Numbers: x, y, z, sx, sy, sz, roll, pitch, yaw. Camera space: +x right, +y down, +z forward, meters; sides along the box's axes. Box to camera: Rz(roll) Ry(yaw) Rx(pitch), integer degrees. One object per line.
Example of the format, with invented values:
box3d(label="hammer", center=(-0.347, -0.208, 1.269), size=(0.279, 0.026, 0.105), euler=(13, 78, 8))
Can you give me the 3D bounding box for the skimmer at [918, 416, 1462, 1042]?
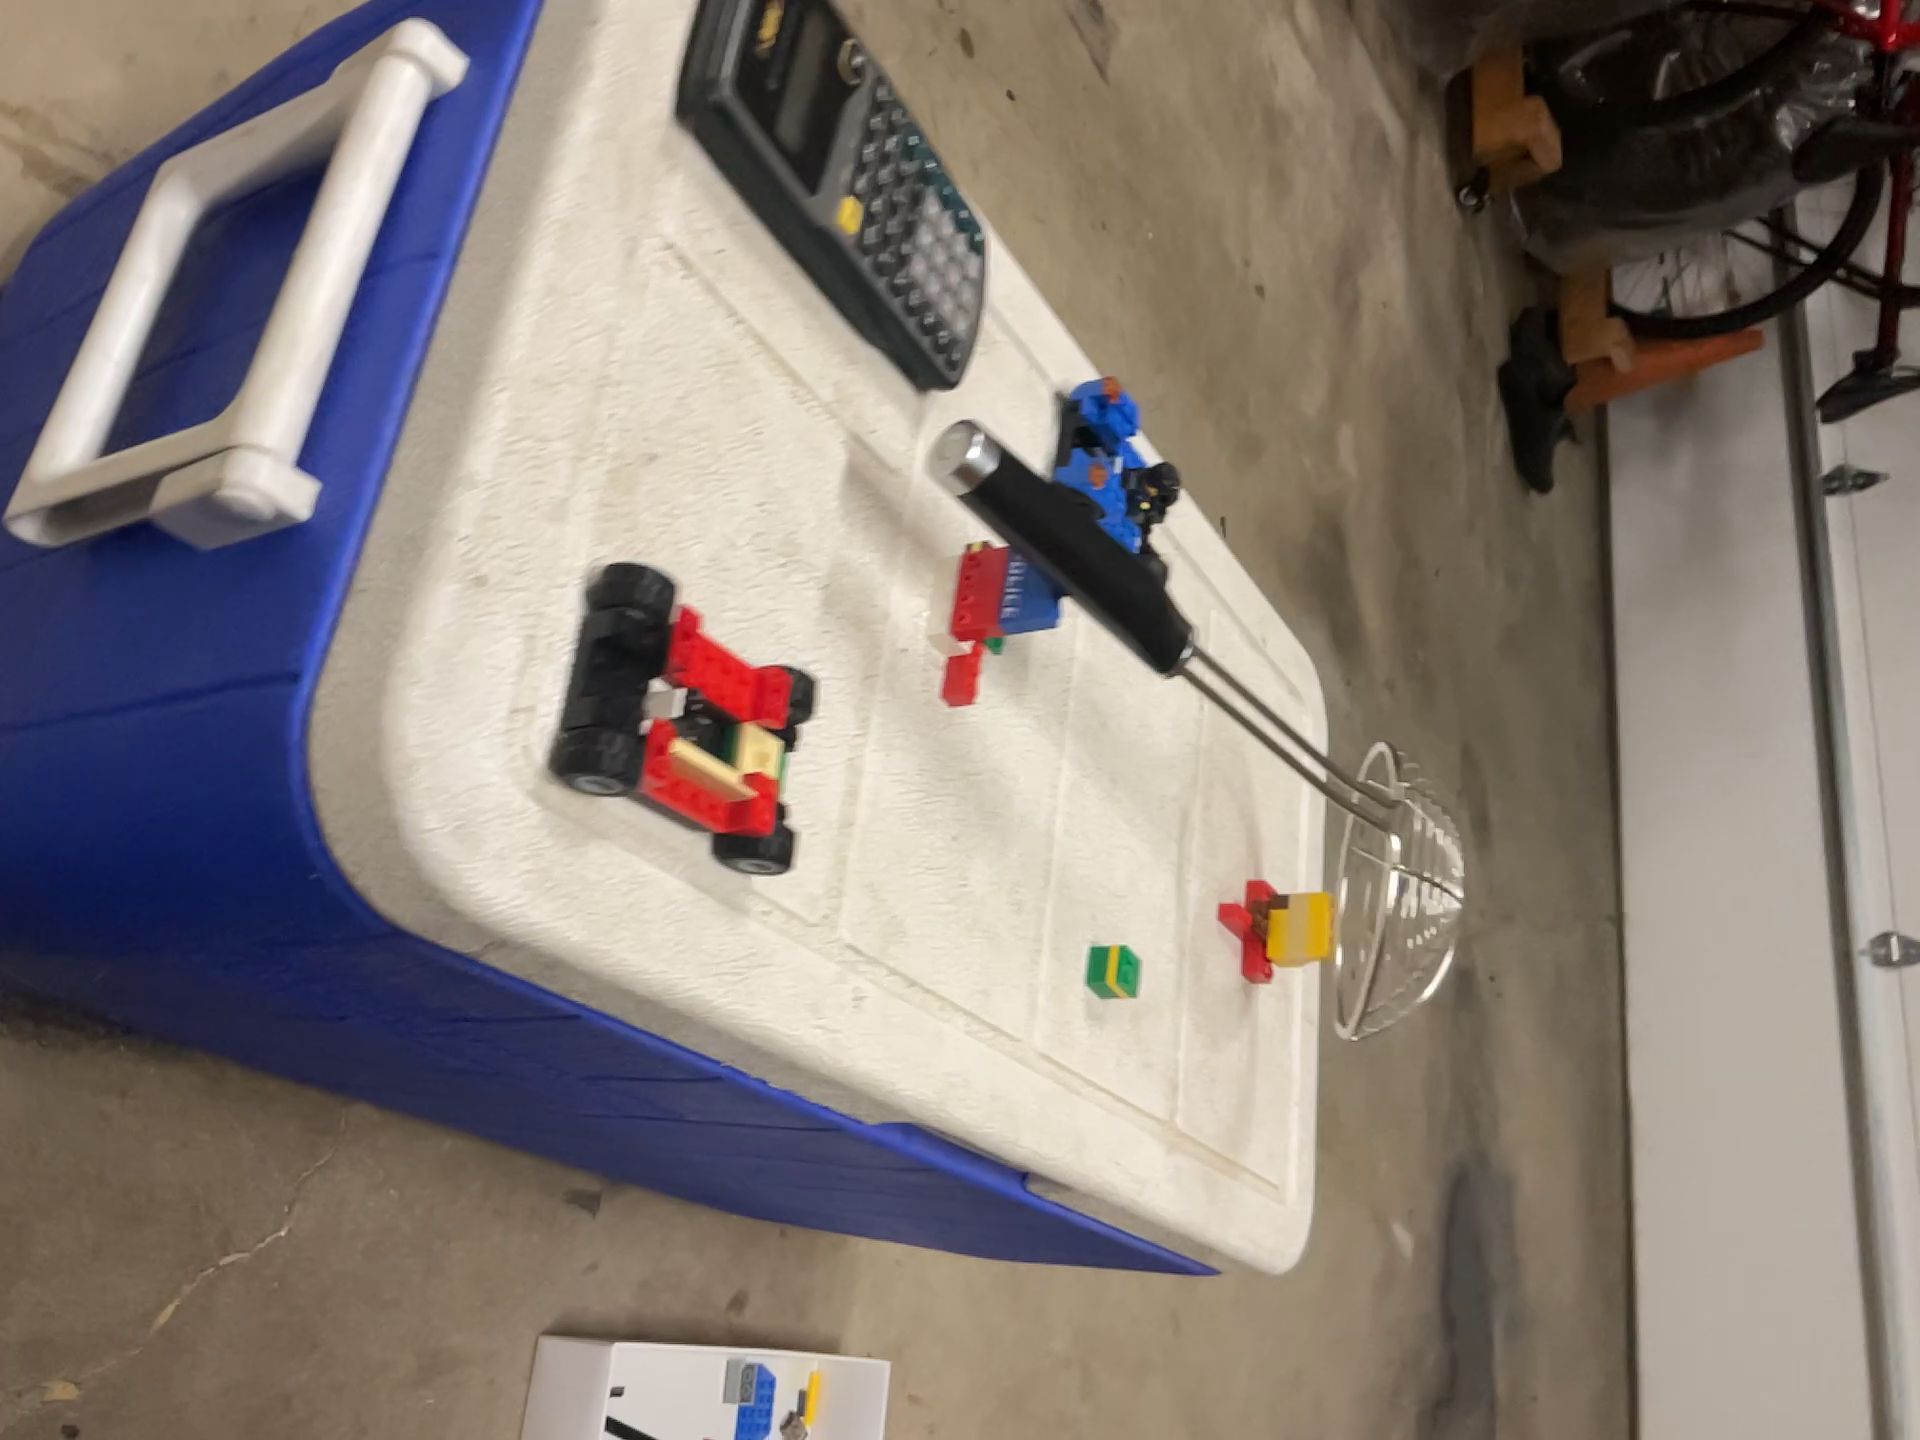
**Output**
box3d(label="skimmer", center=(0.090, 0.010, 0.604), size=(0.363, 0.090, 0.127), euler=(36, 53, -37))
